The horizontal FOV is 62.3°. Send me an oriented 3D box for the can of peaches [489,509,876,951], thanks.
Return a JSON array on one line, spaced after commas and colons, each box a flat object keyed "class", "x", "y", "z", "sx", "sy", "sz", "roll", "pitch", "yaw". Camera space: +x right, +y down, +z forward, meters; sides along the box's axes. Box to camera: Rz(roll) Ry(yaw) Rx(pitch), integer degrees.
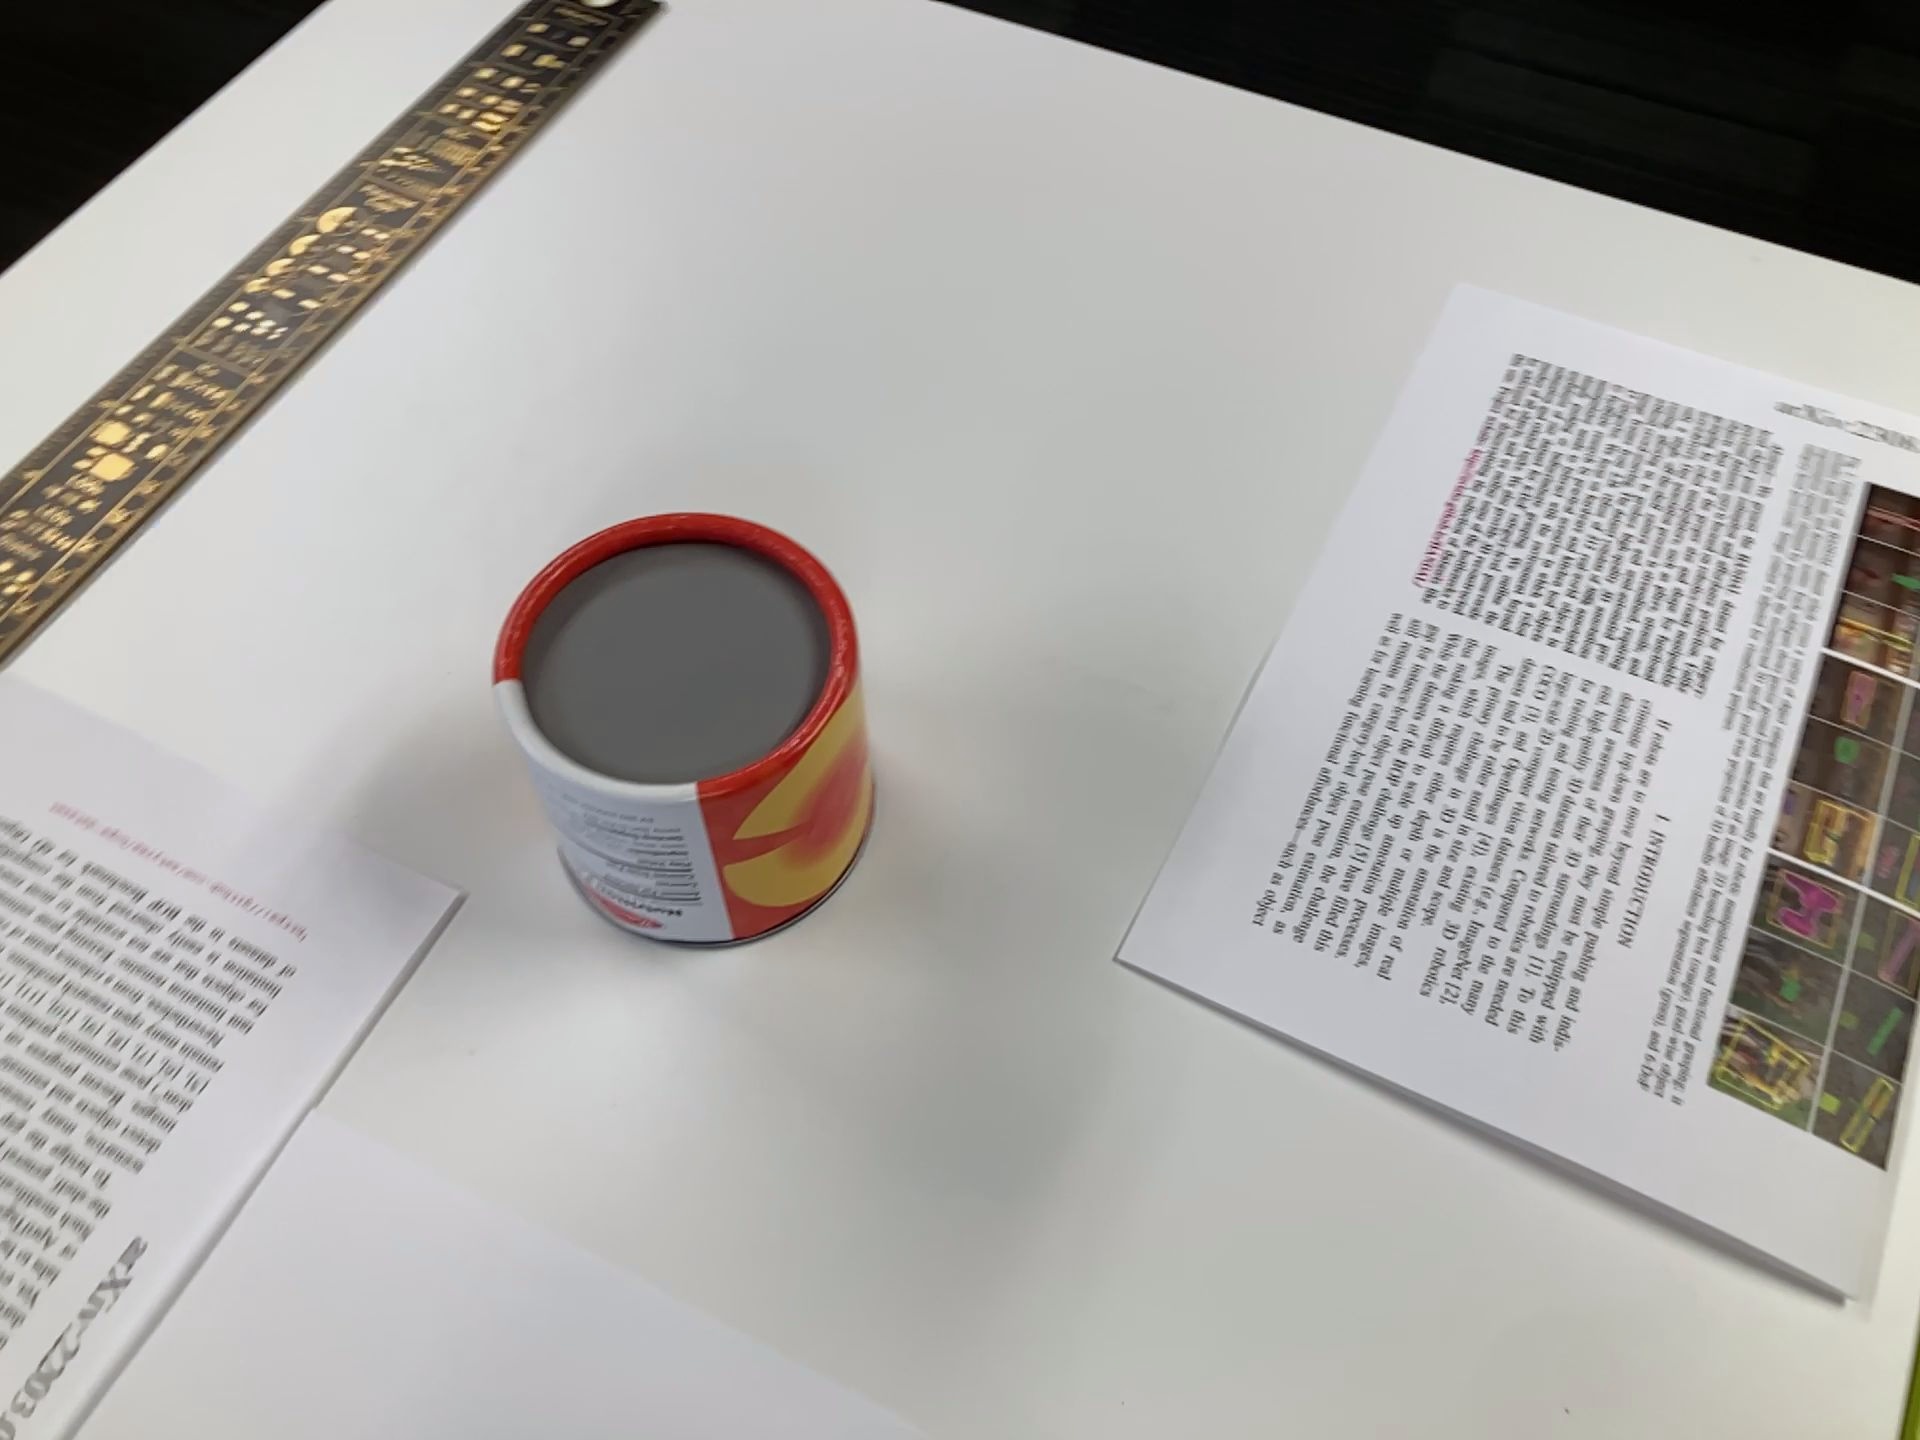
[{"class": "can of peaches", "x": -0.050, "y": 0.000, "z": 0.306, "sx": 0.071, "sy": 0.058, "sz": 0.071, "roll": -1, "pitch": 57, "yaw": 1}]
